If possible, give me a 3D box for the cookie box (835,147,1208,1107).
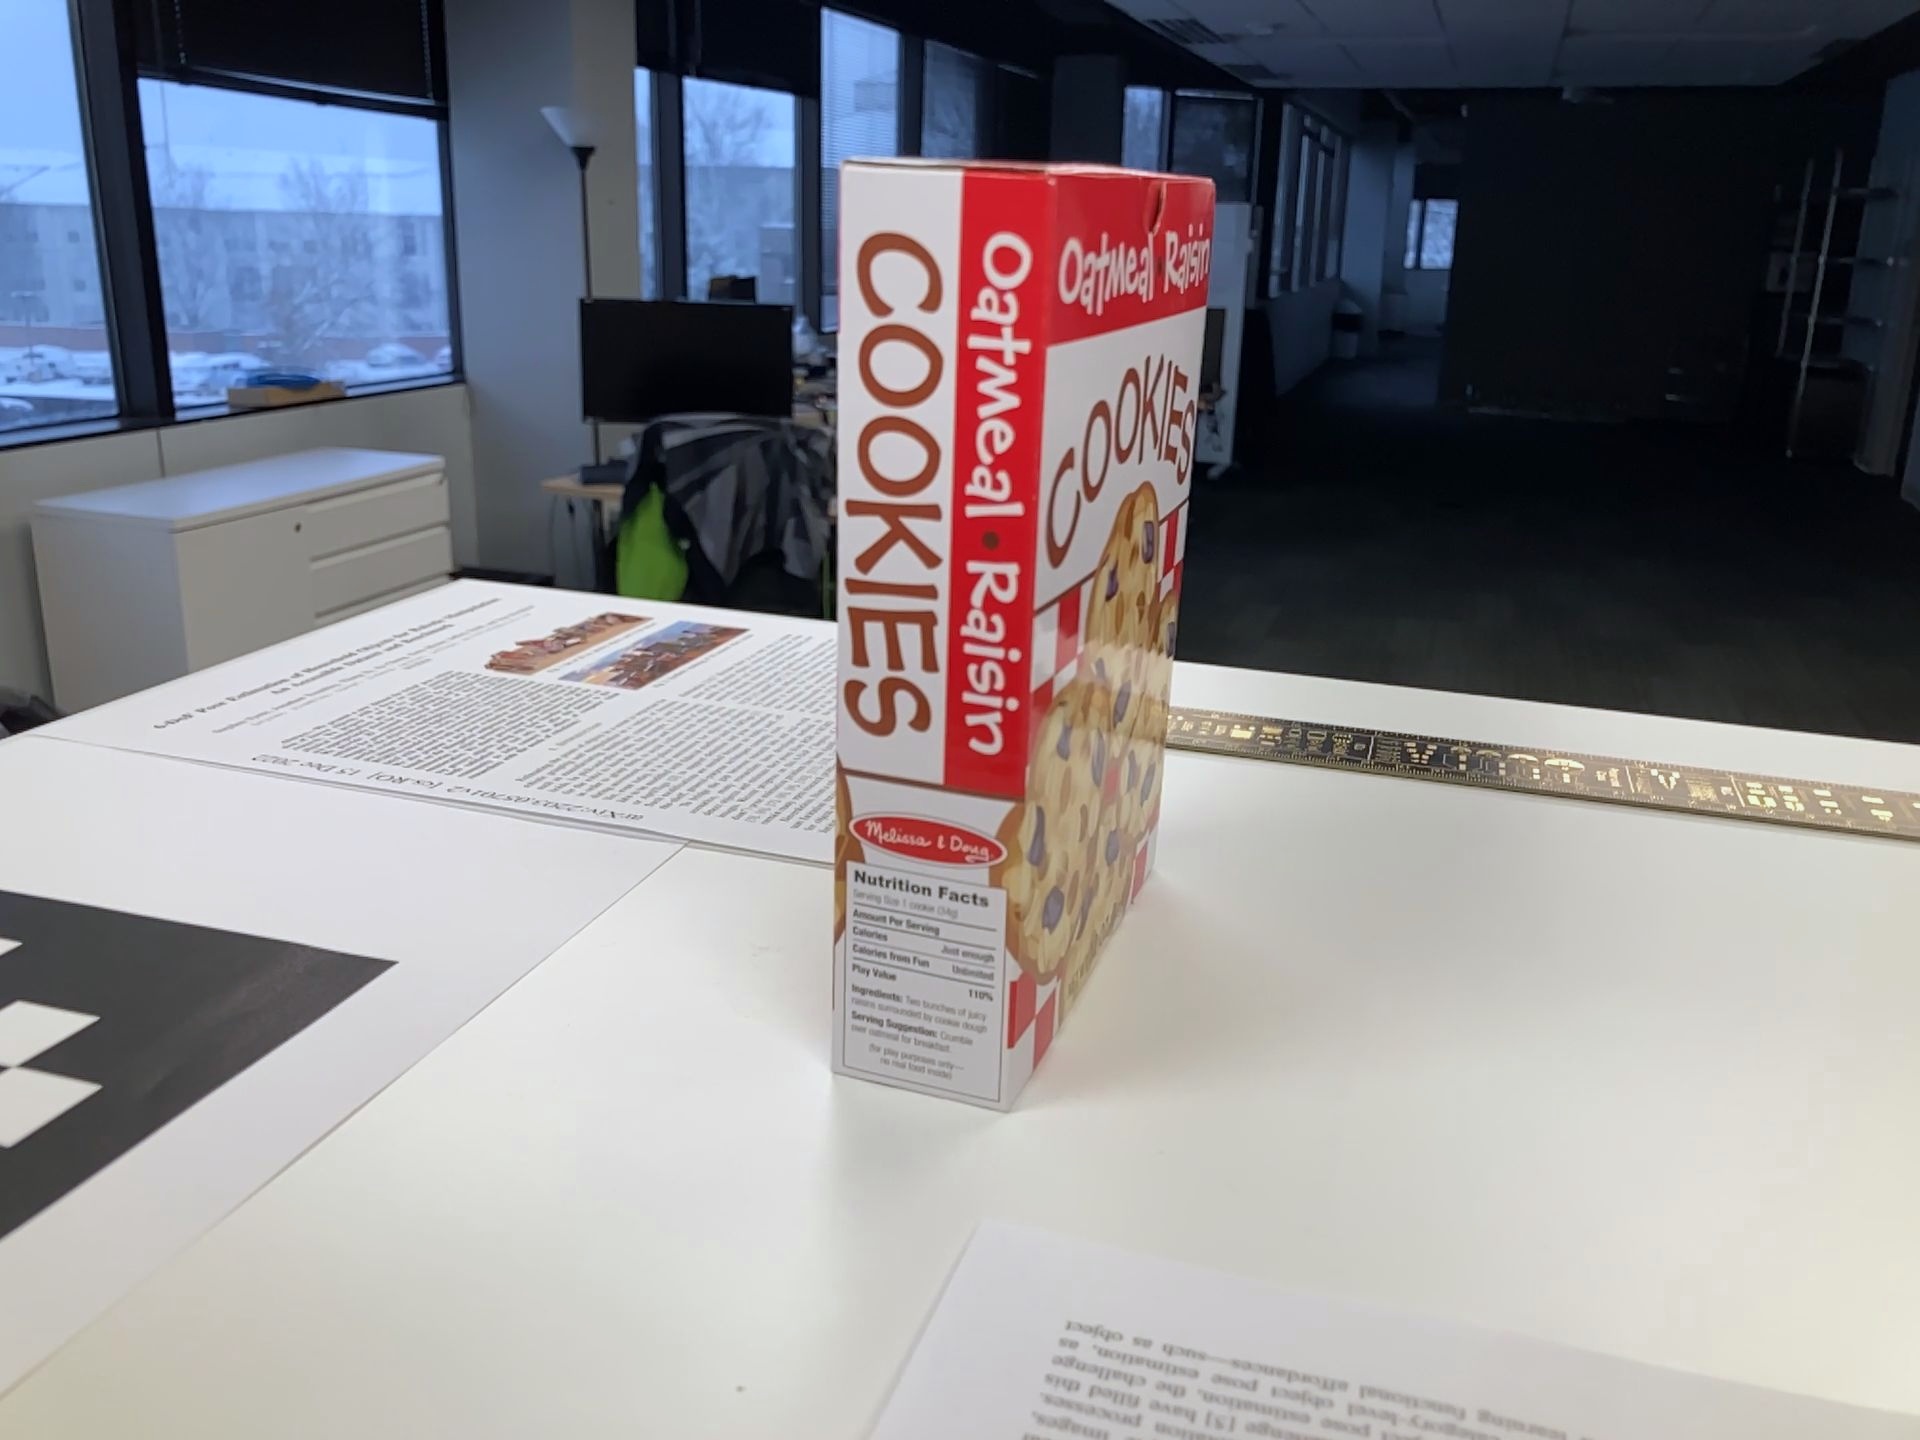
[{"bbox_3d":[0.016,-0.026,0.327,0.040,0.167,0.123,8,18,18],"label":"cookie box"}]
